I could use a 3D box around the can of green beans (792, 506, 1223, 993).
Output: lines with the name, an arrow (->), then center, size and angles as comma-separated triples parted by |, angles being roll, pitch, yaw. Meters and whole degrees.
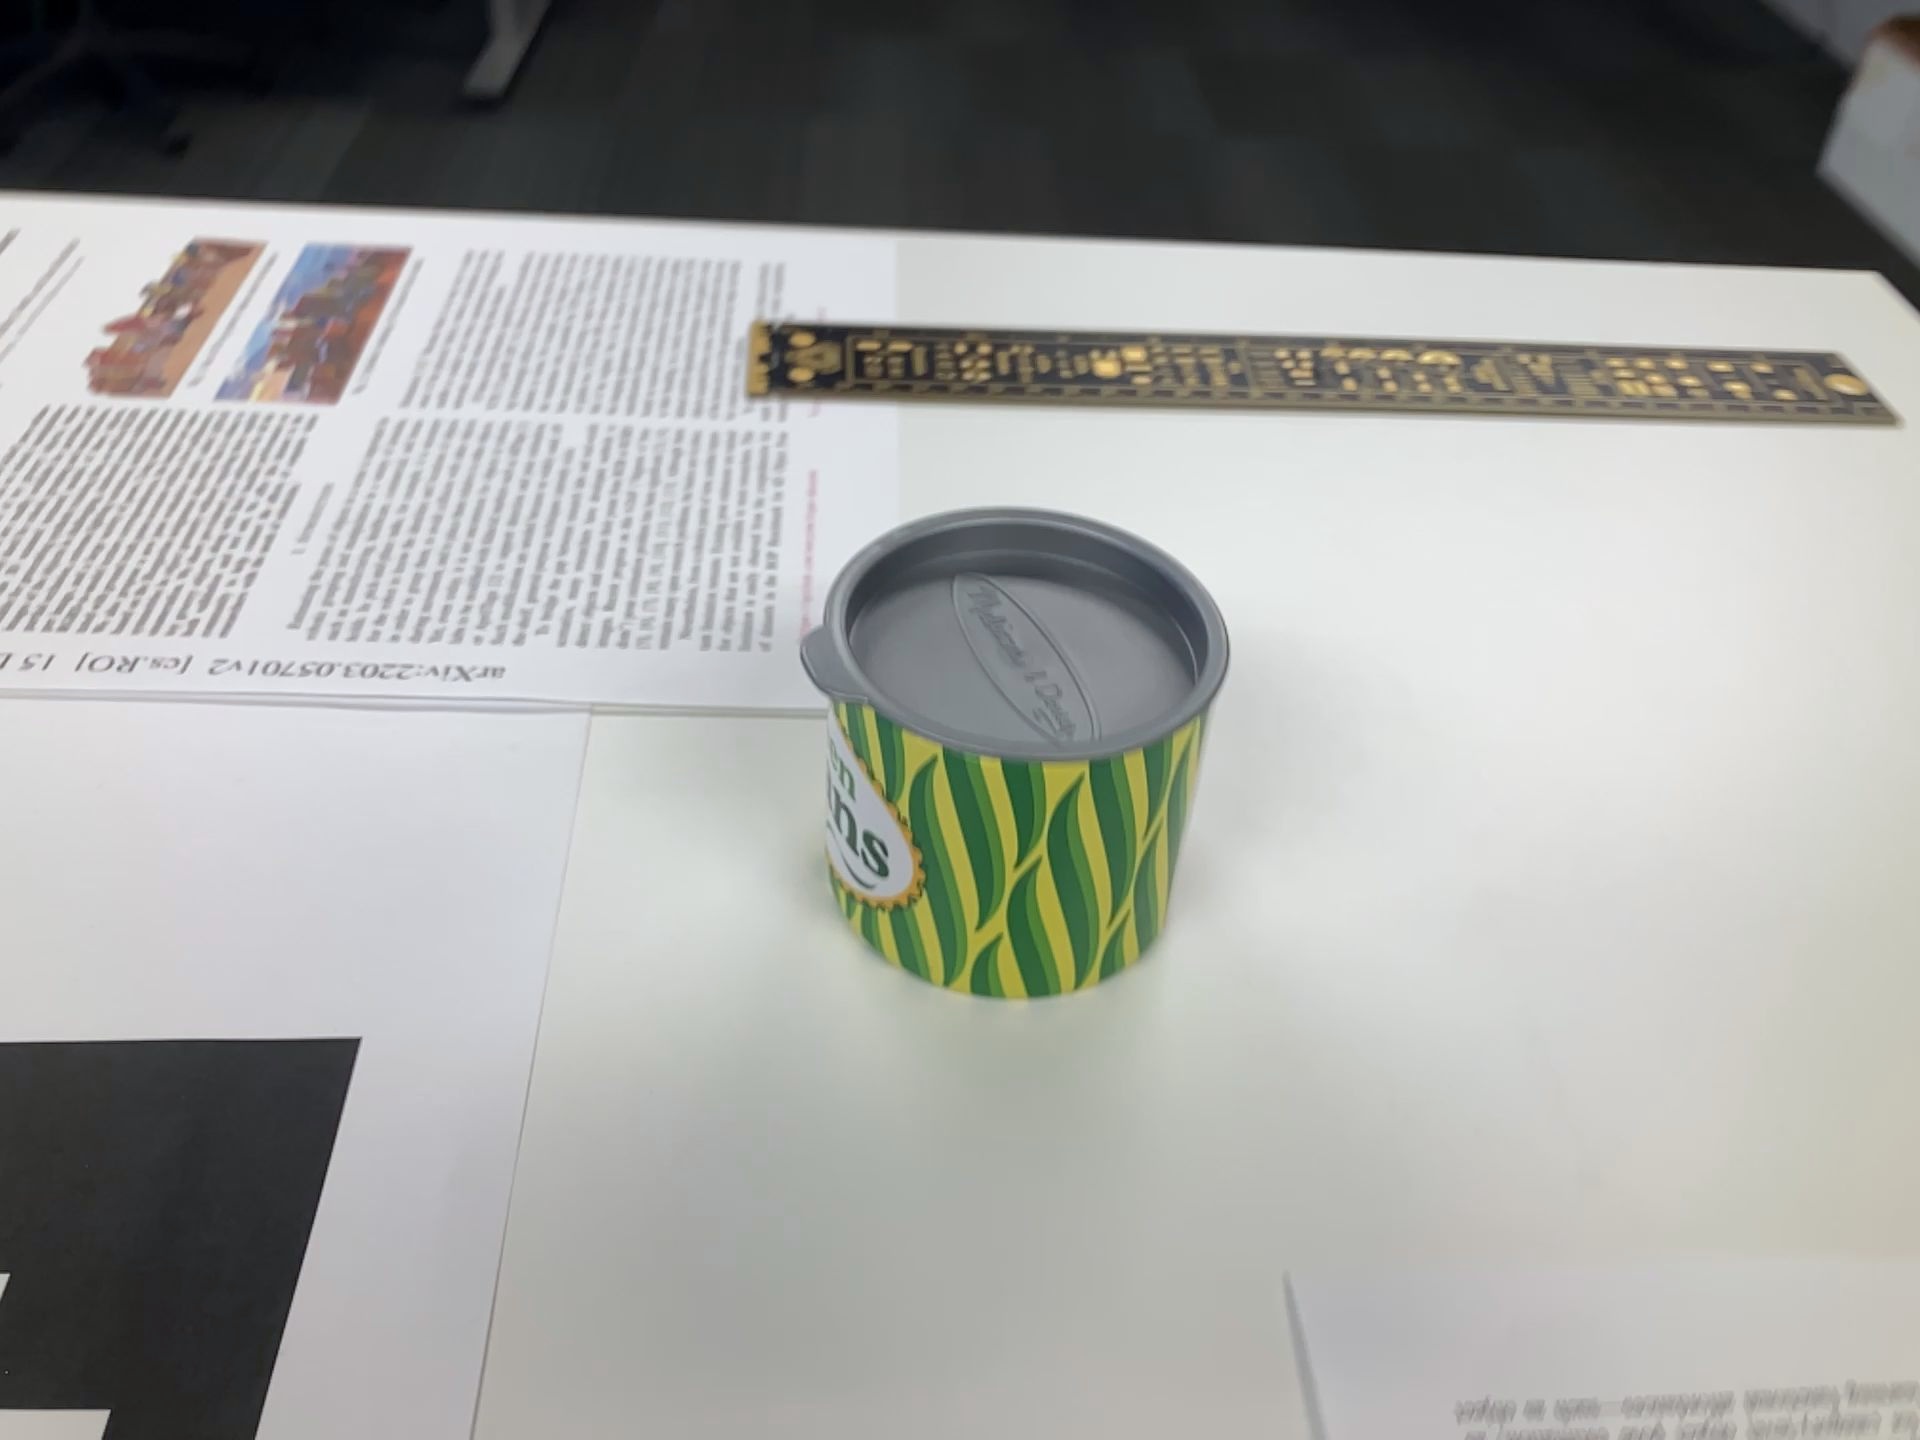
can of green beans -> 0.008, 0.005, 0.280 | 0.071, 0.058, 0.071 | 3, 41, -2
